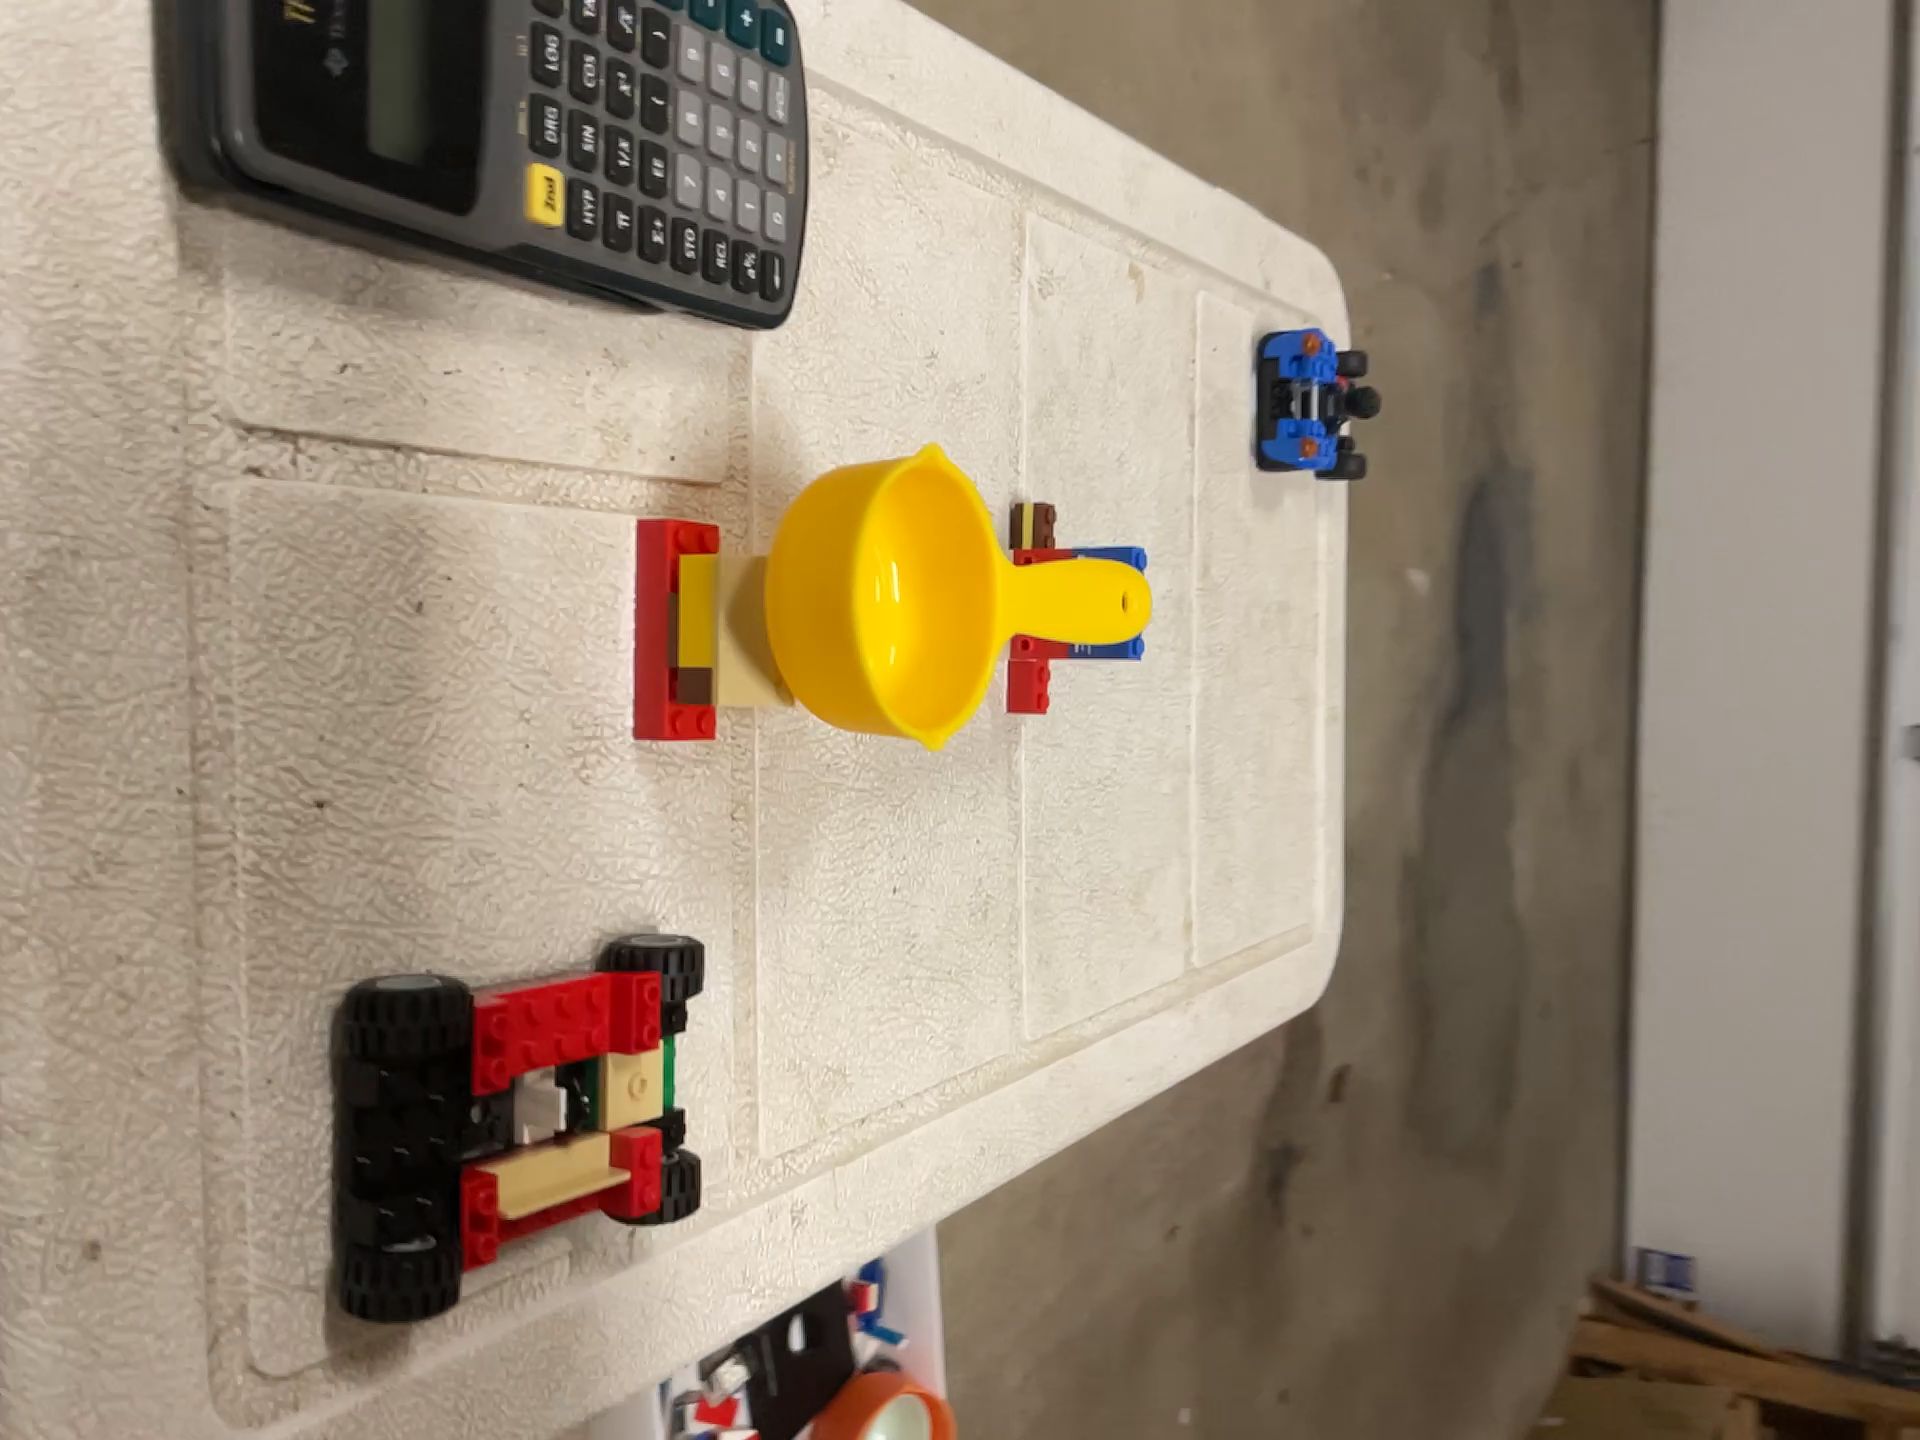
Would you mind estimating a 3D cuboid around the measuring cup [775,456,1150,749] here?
[{"bbox_3d":[0.007,-0.028,0.389,0.156,0.029,0.062,-6,97,-62],"label":"measuring cup"}]
